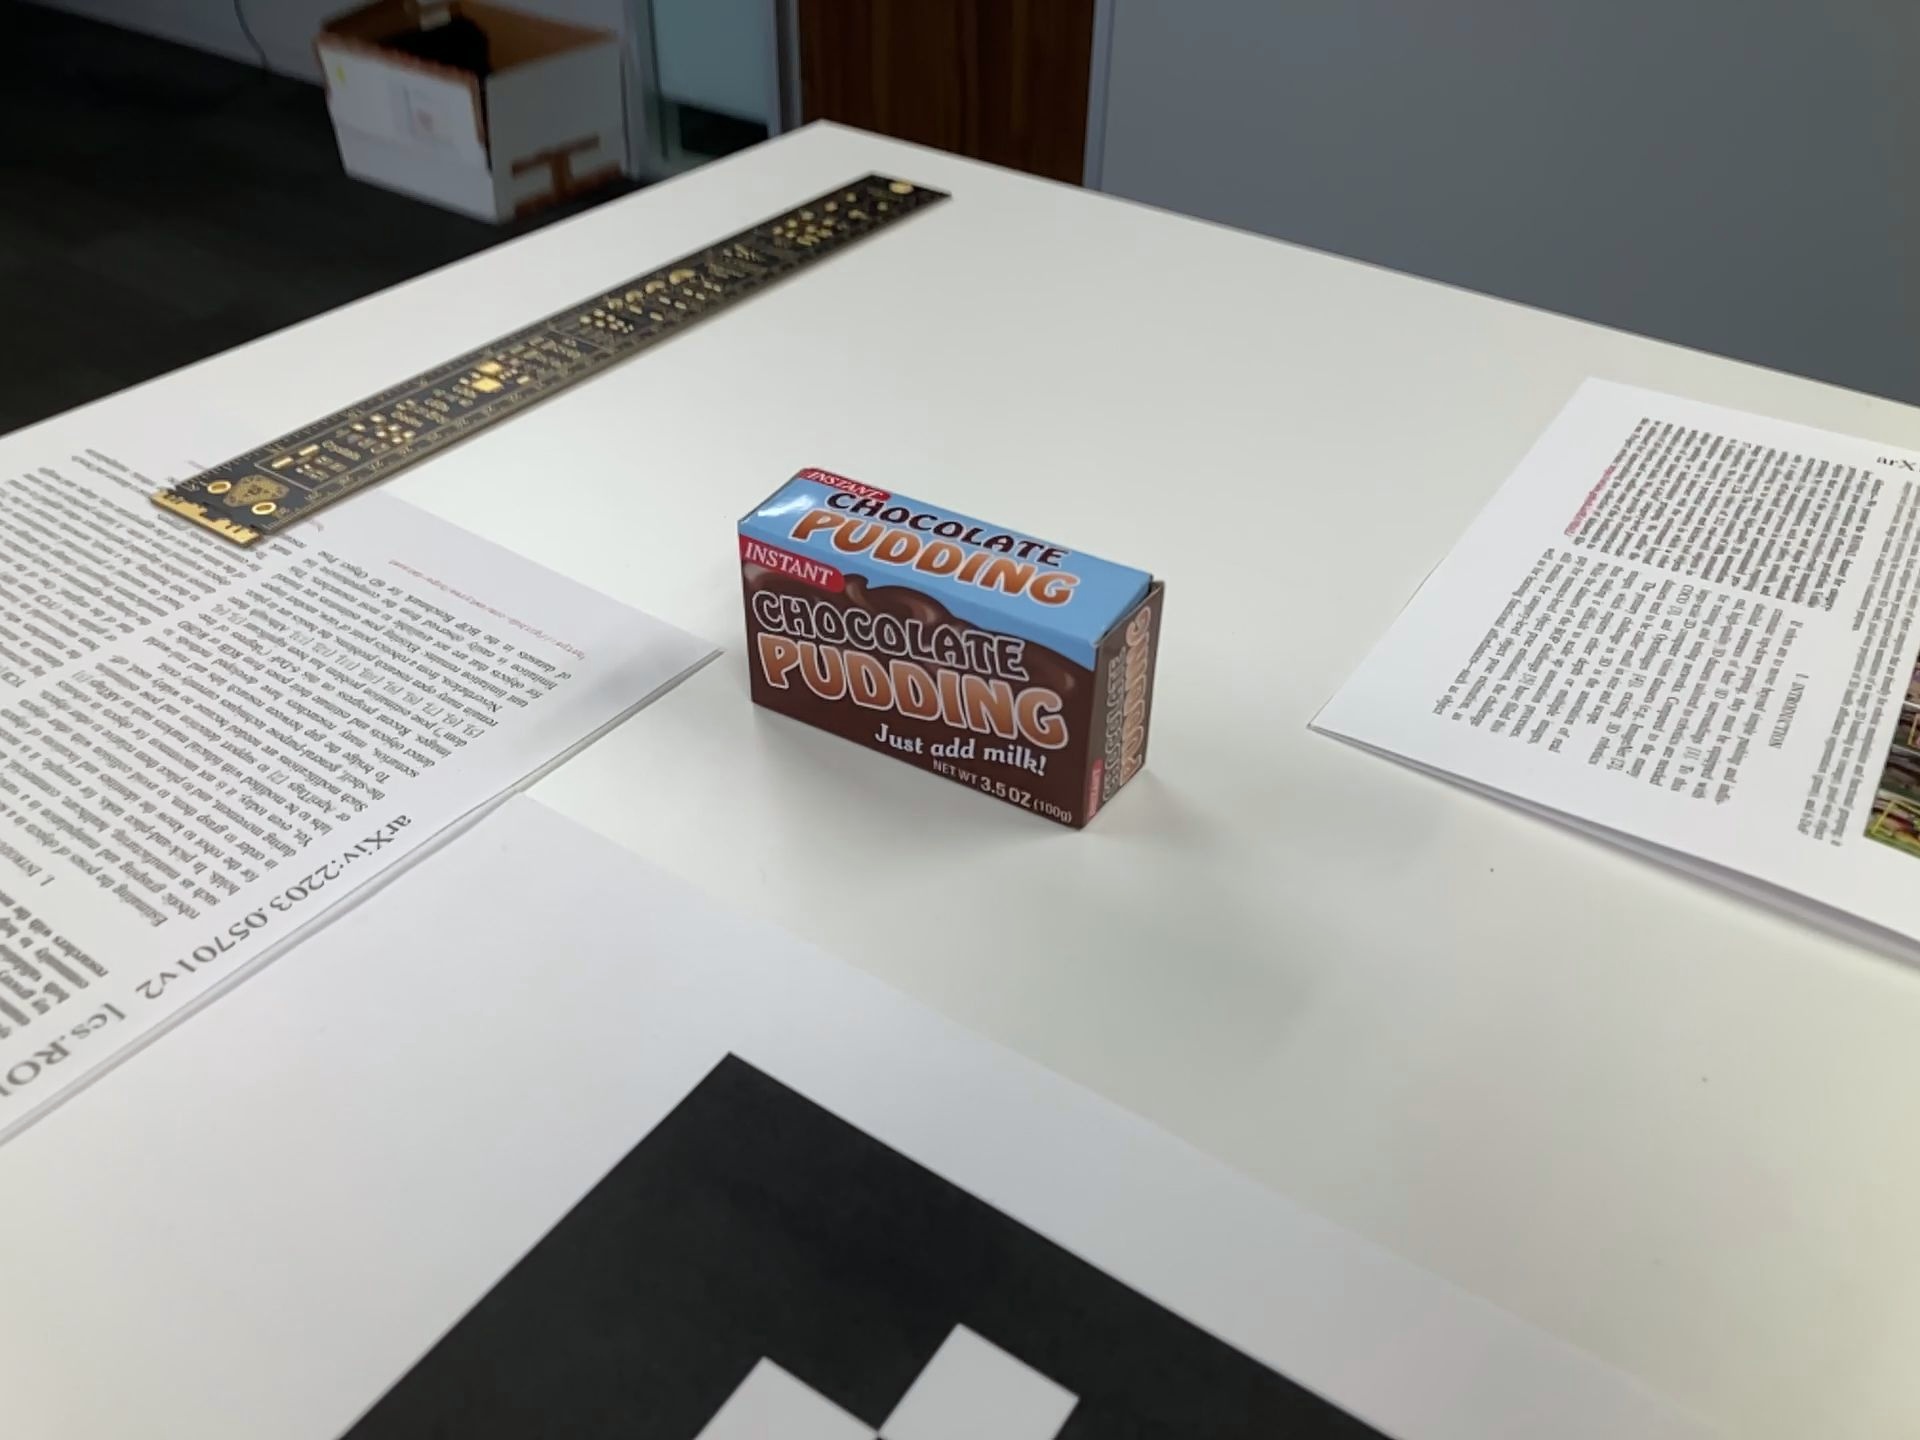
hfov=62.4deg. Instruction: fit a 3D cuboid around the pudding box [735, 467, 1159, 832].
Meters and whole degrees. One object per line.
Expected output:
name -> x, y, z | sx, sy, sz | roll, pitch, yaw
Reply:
pudding box -> -0.004, -0.016, 0.329 | 0.083, 0.049, 0.030 | 21, 43, 22
